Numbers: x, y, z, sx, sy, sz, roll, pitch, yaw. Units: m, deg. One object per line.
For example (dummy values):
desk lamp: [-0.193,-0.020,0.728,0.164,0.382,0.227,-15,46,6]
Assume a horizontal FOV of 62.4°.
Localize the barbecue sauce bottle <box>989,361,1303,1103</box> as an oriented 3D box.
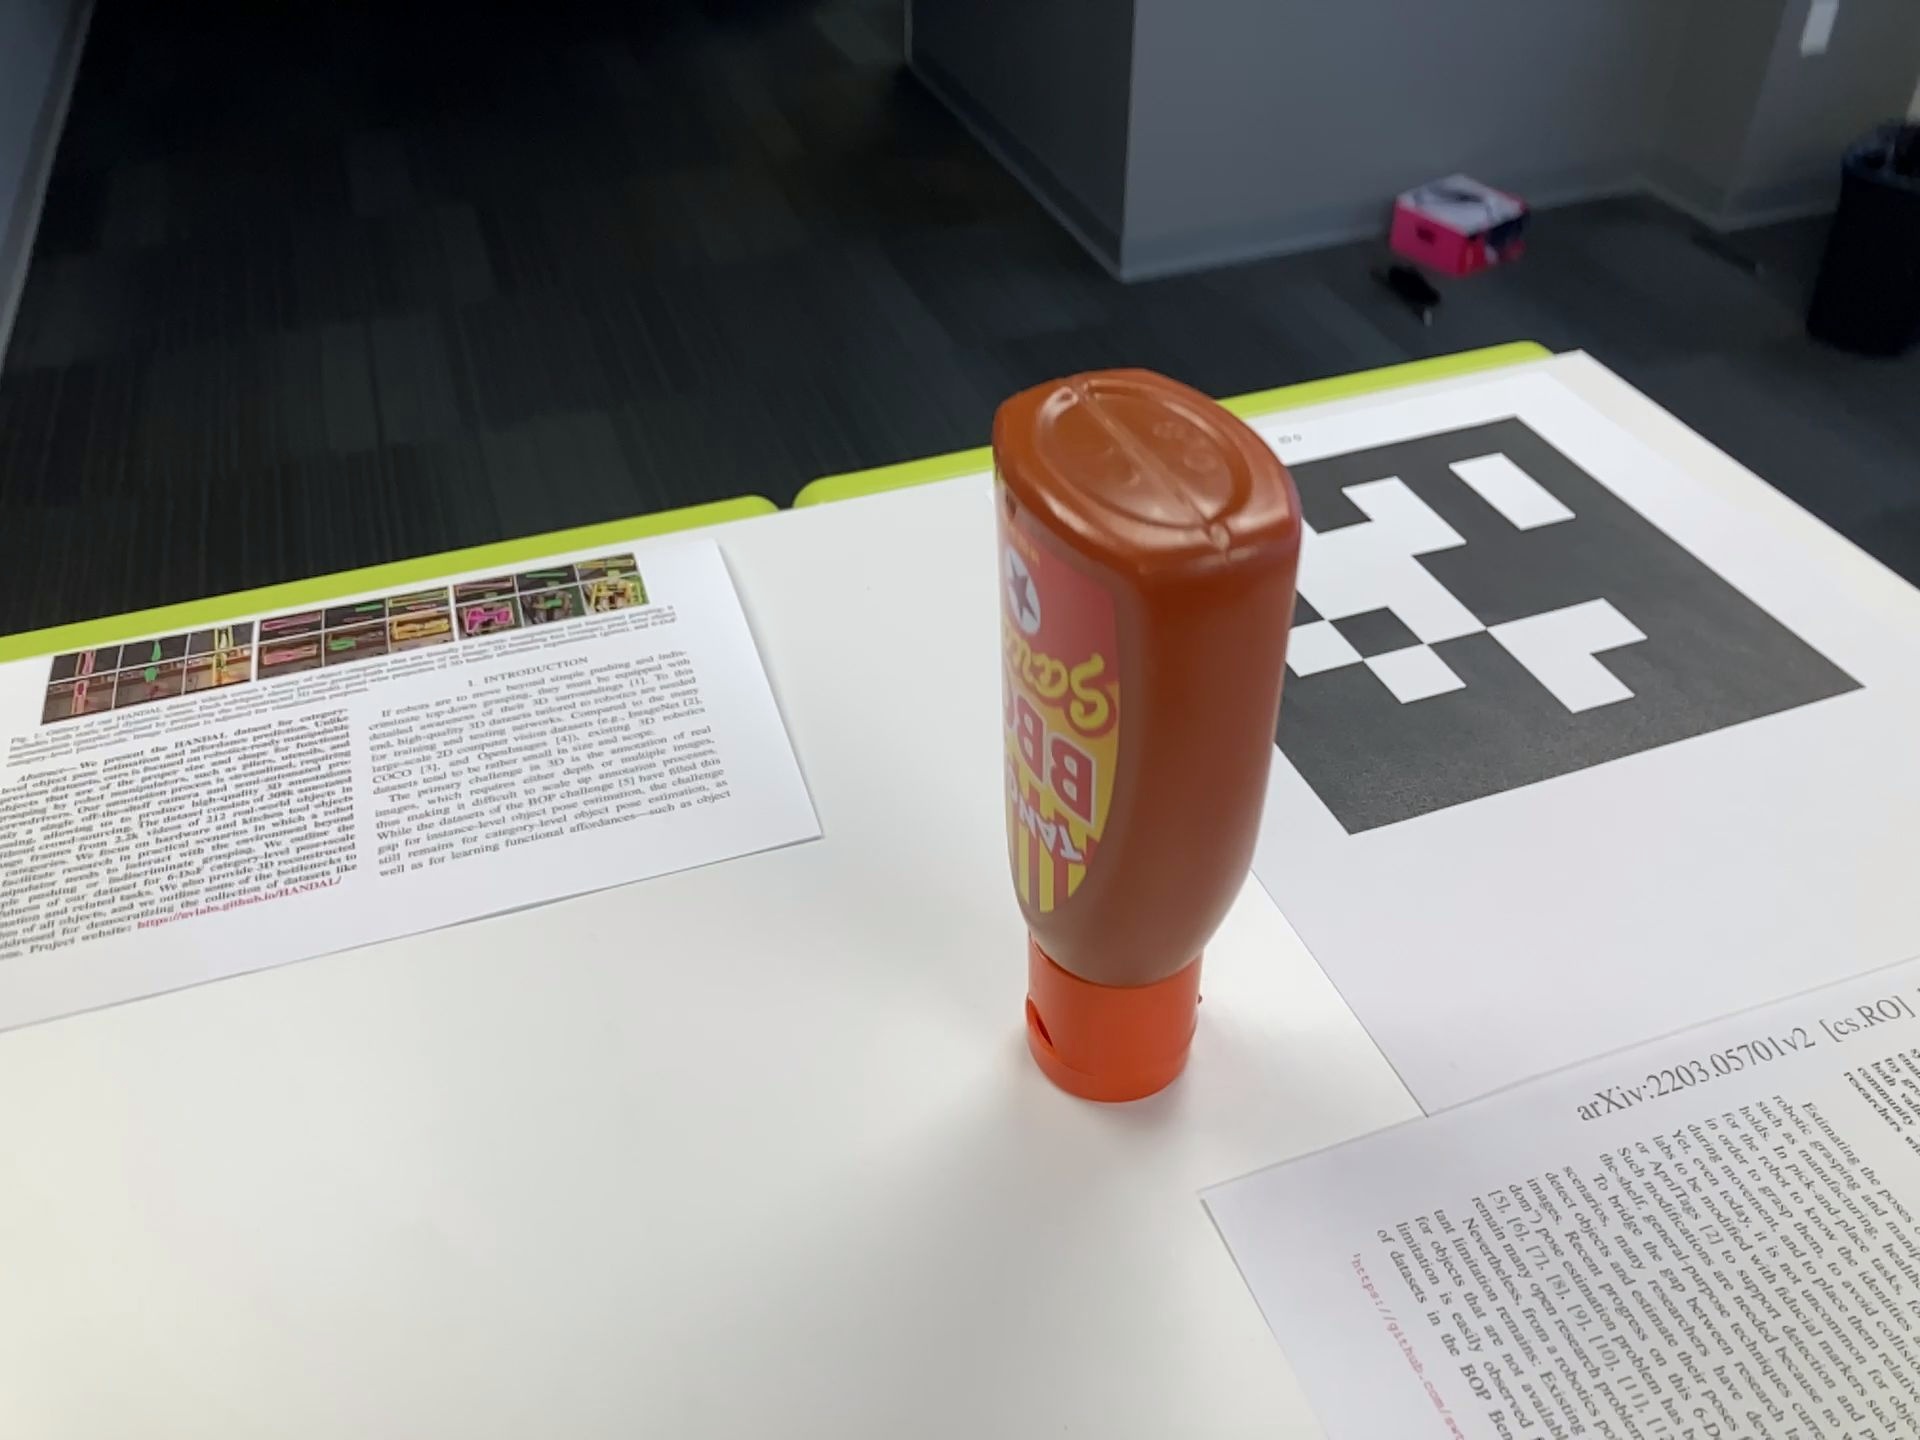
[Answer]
barbecue sauce bottle: [0.031,0.012,0.299,0.043,0.148,0.065,-15,41,-15]
